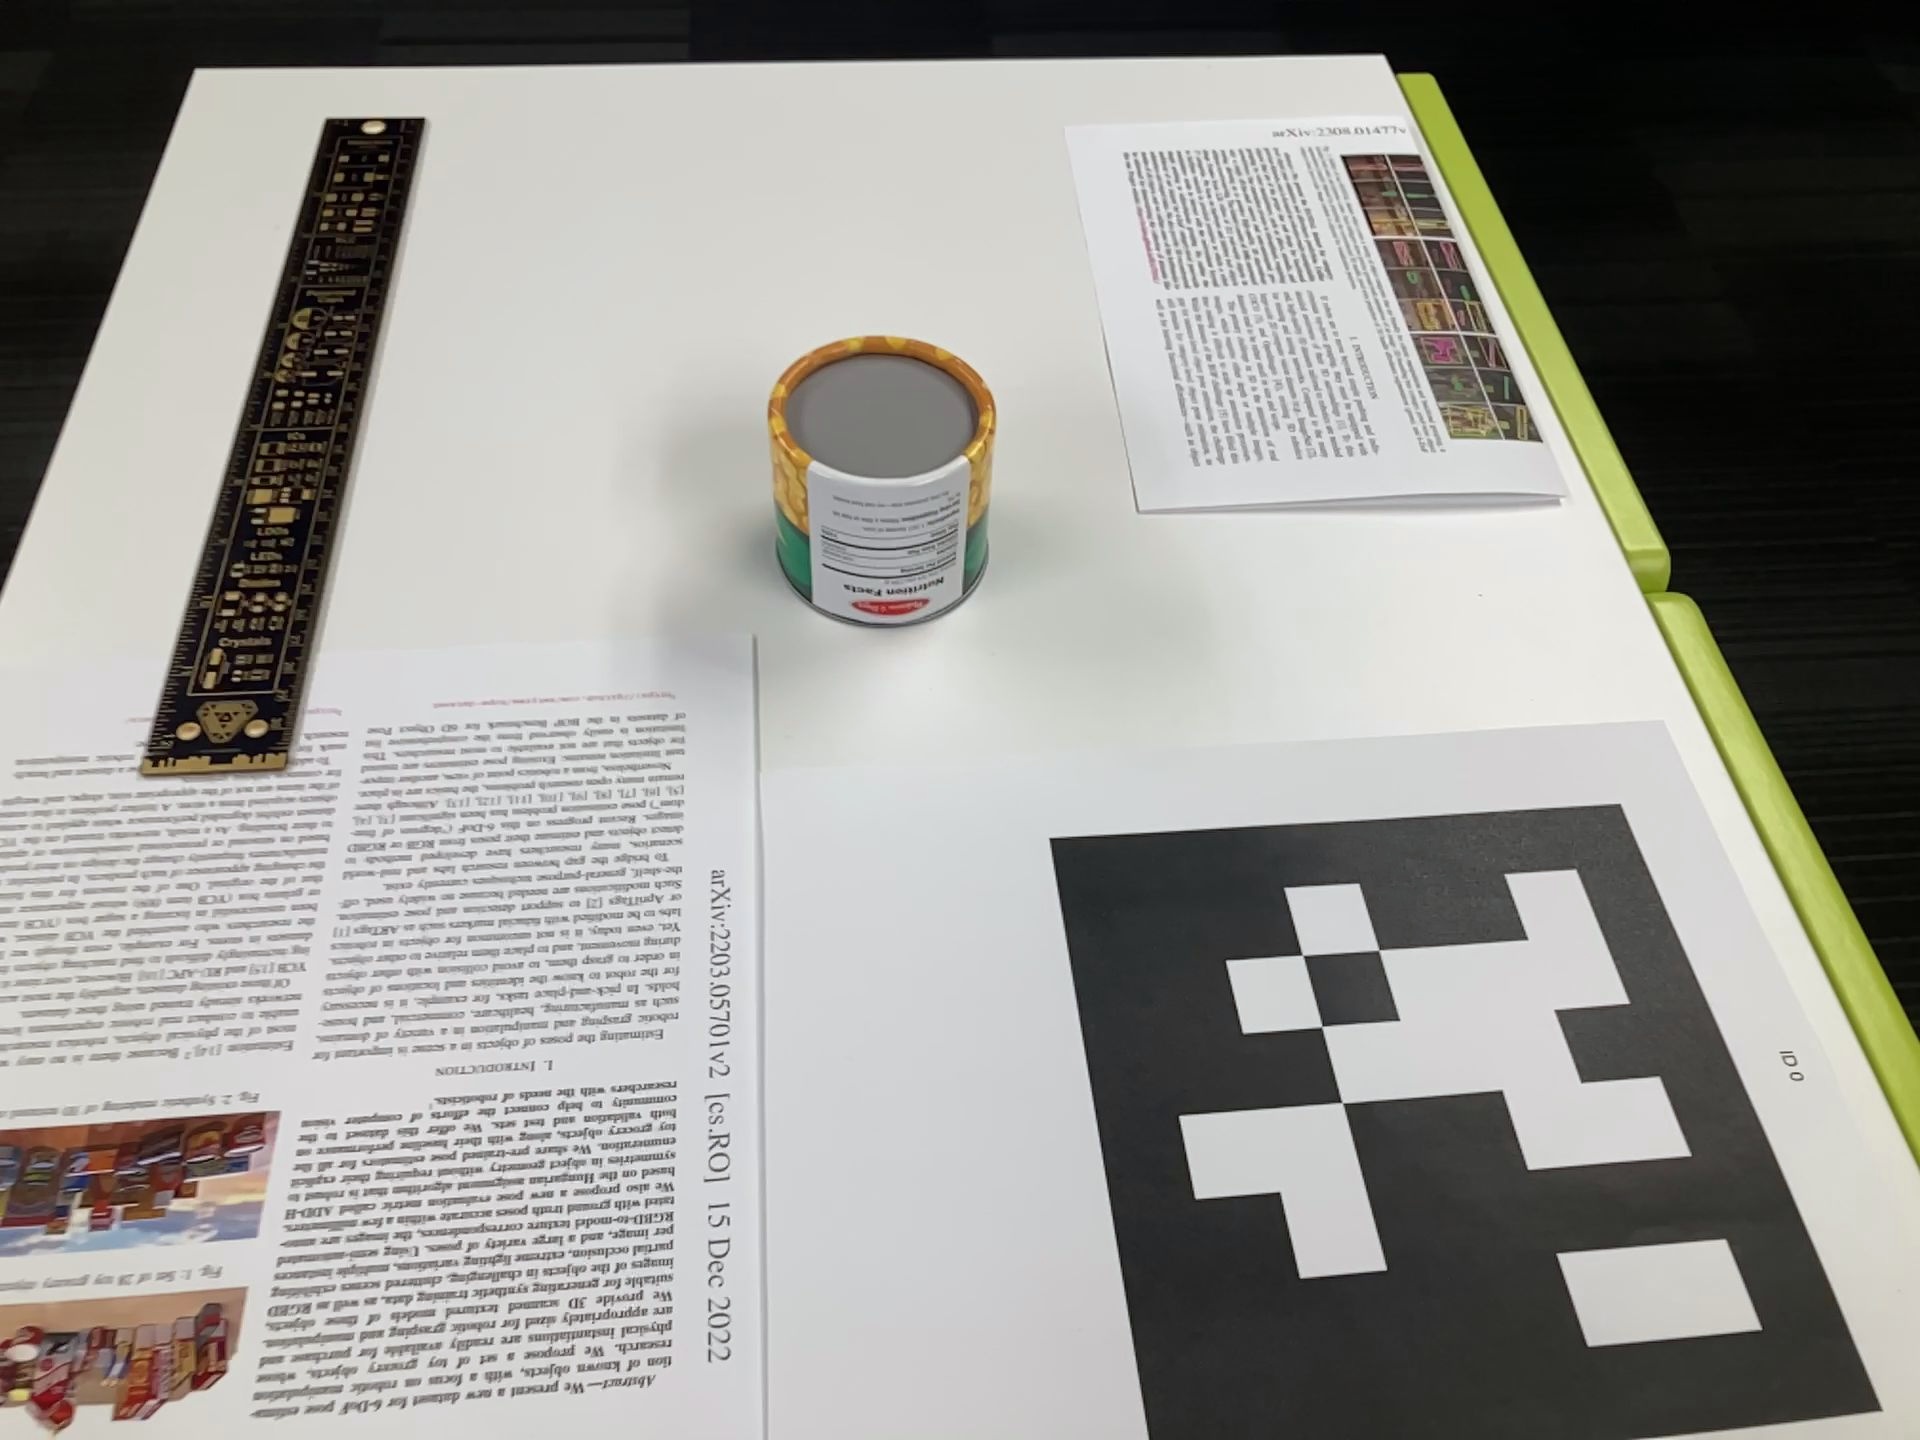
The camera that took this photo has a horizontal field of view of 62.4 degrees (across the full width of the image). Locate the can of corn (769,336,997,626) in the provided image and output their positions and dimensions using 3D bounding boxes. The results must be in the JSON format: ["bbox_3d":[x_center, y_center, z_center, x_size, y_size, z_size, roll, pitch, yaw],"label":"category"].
[{"bbox_3d":[-0.024,-0.074,0.477,0.071,0.058,0.071,1,52,-2],"label":"can of corn"}]
